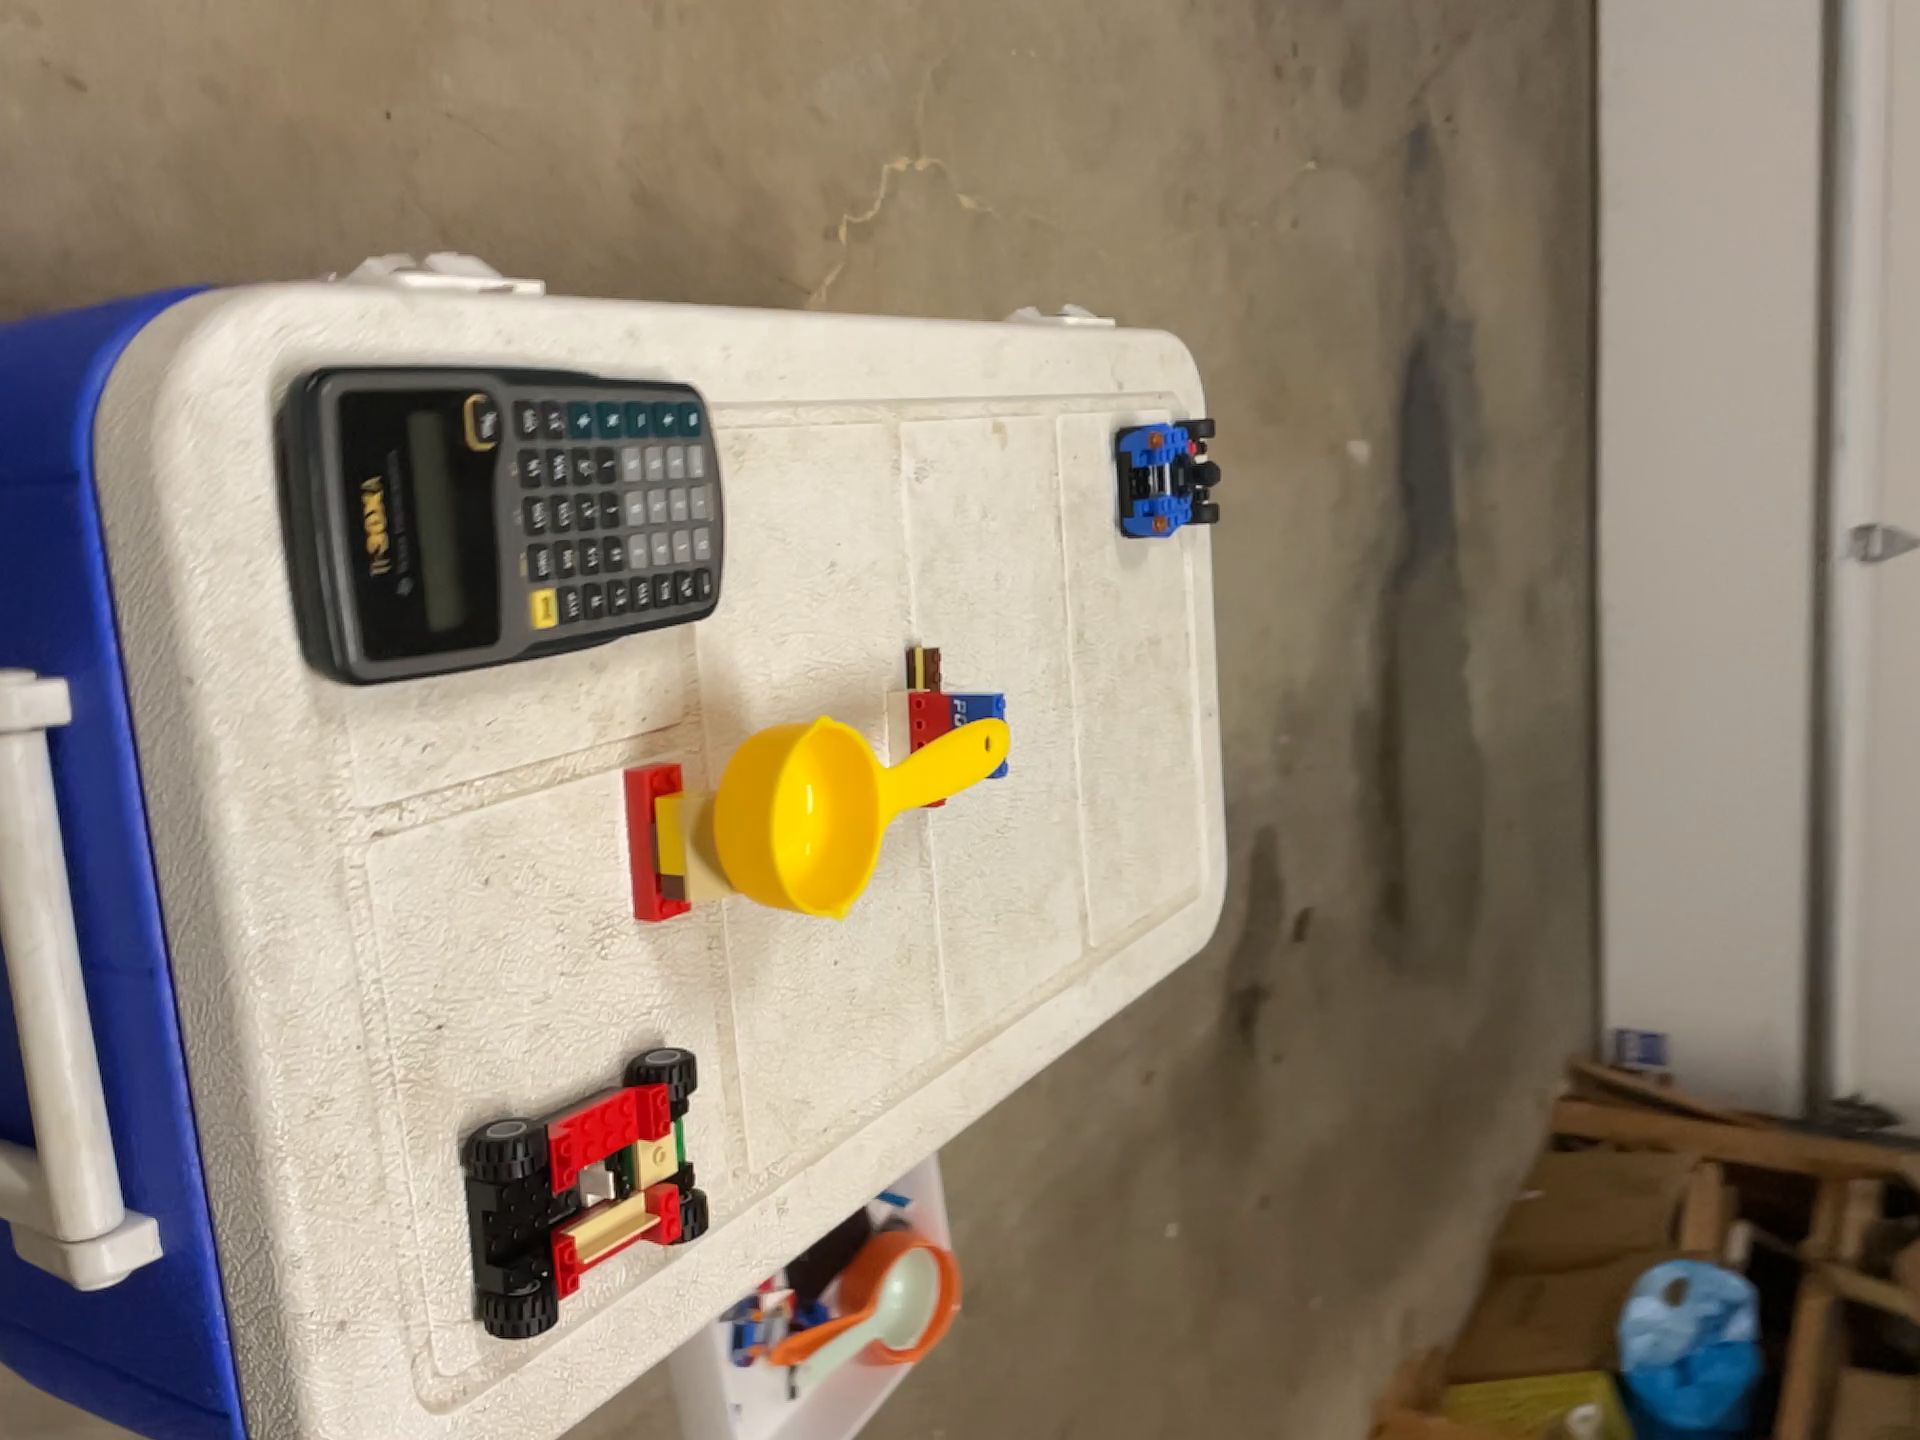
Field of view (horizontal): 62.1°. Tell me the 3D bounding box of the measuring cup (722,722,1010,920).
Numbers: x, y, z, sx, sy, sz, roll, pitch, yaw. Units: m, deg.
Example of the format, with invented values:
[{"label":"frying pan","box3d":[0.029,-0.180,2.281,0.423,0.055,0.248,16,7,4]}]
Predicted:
[{"label":"measuring cup","box3d":[-0.028,0.022,0.544,0.156,0.029,0.062,-22,110,-60]}]
